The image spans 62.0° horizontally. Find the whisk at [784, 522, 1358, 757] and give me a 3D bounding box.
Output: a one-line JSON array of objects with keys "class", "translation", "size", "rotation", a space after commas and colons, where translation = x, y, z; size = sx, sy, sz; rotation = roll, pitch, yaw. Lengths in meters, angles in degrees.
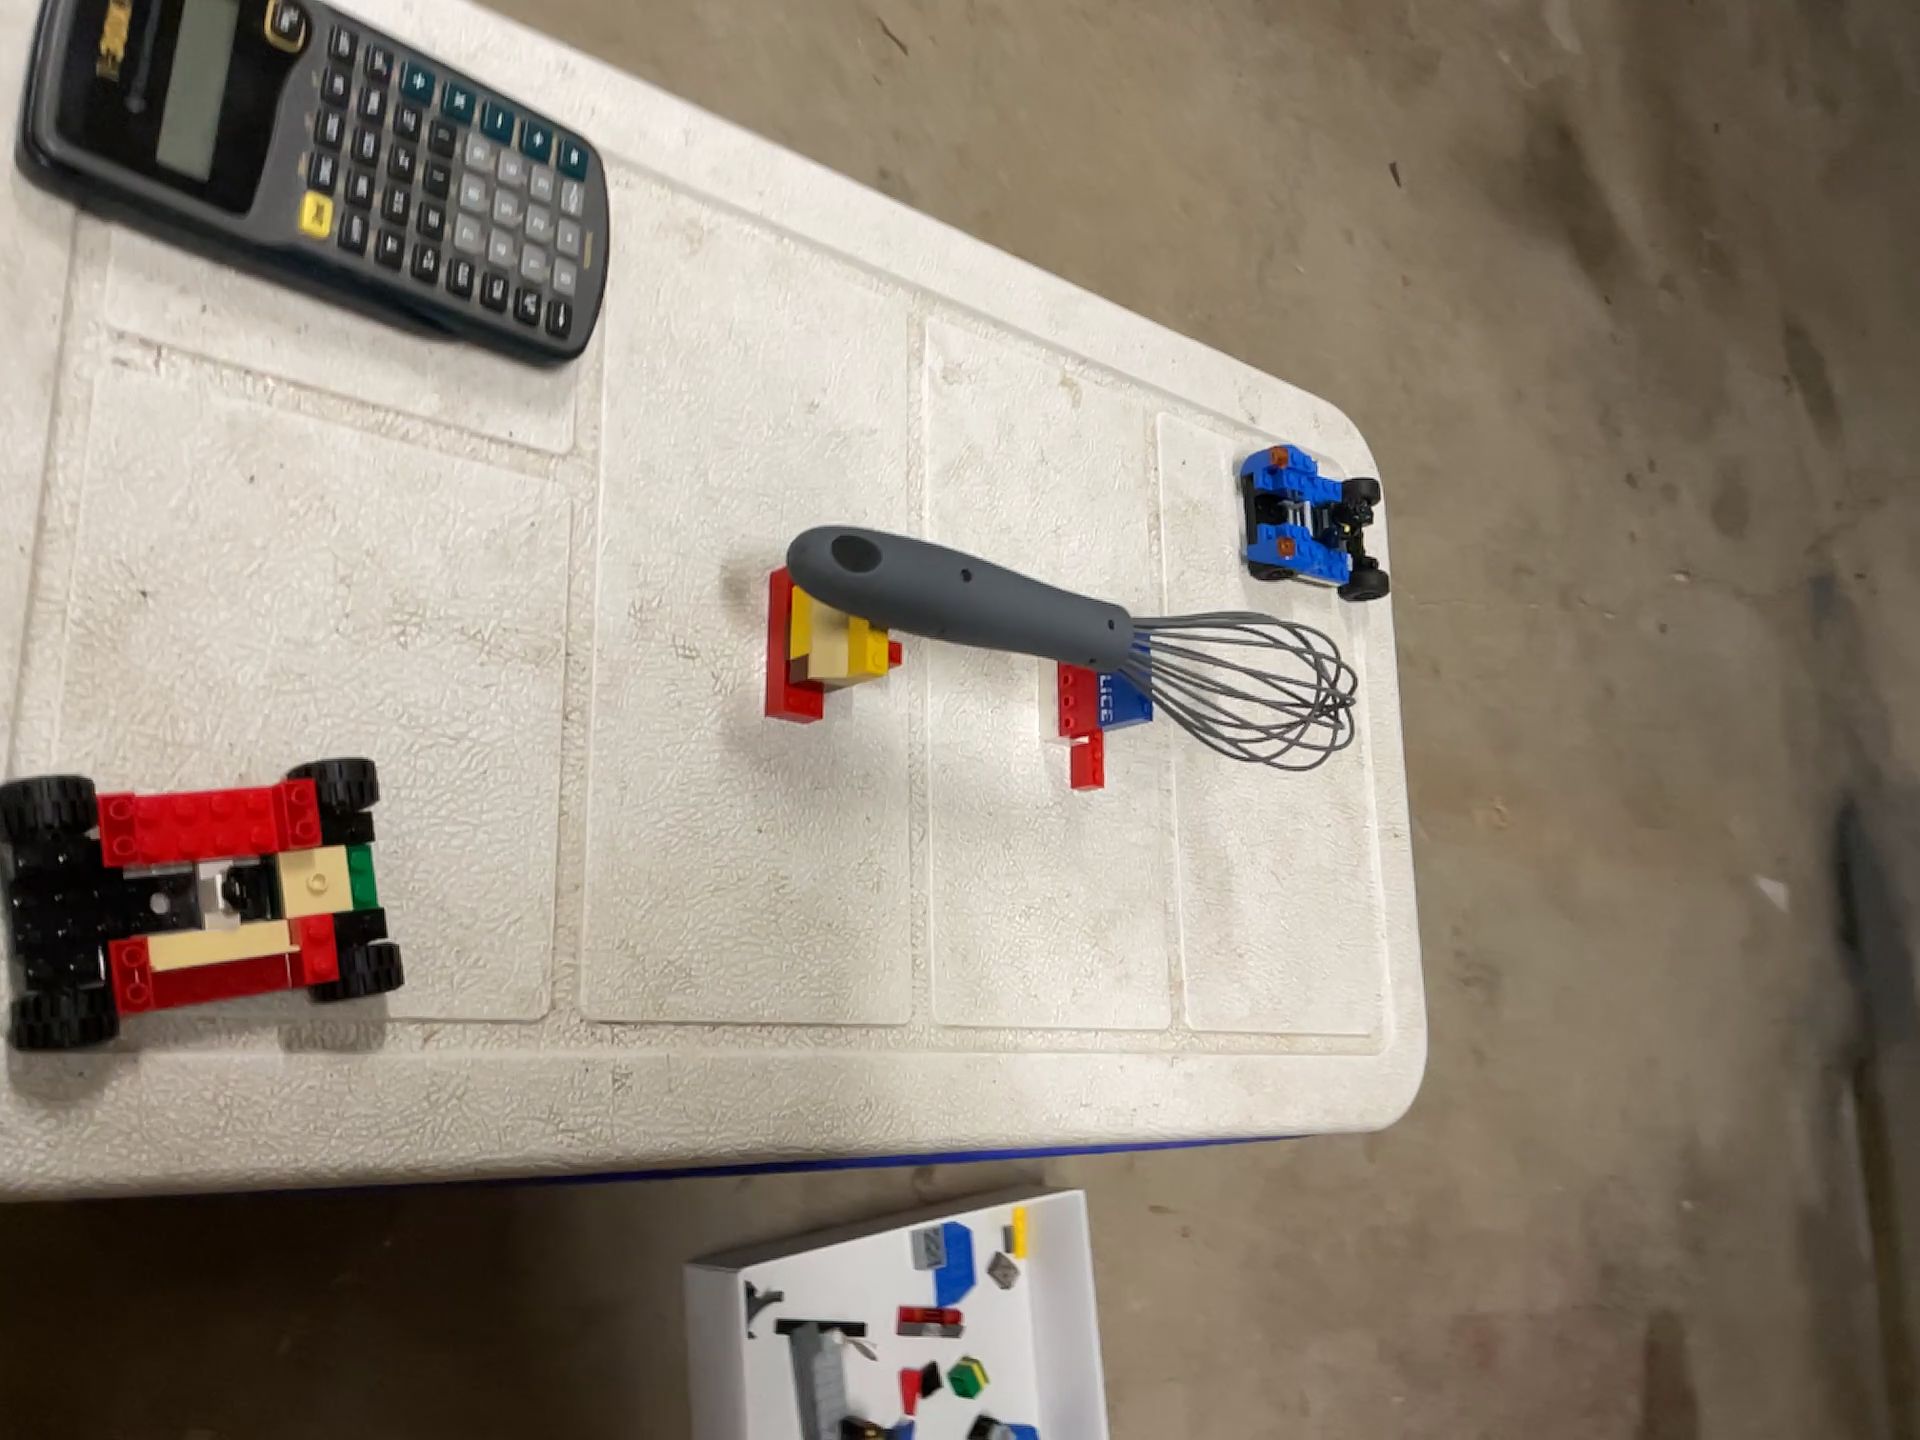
[{"class": "whisk", "translation": [0.046, -0.028, 0.522], "size": [0.239, 0.055, 0.055], "rotation": [13, 69, -36]}]
